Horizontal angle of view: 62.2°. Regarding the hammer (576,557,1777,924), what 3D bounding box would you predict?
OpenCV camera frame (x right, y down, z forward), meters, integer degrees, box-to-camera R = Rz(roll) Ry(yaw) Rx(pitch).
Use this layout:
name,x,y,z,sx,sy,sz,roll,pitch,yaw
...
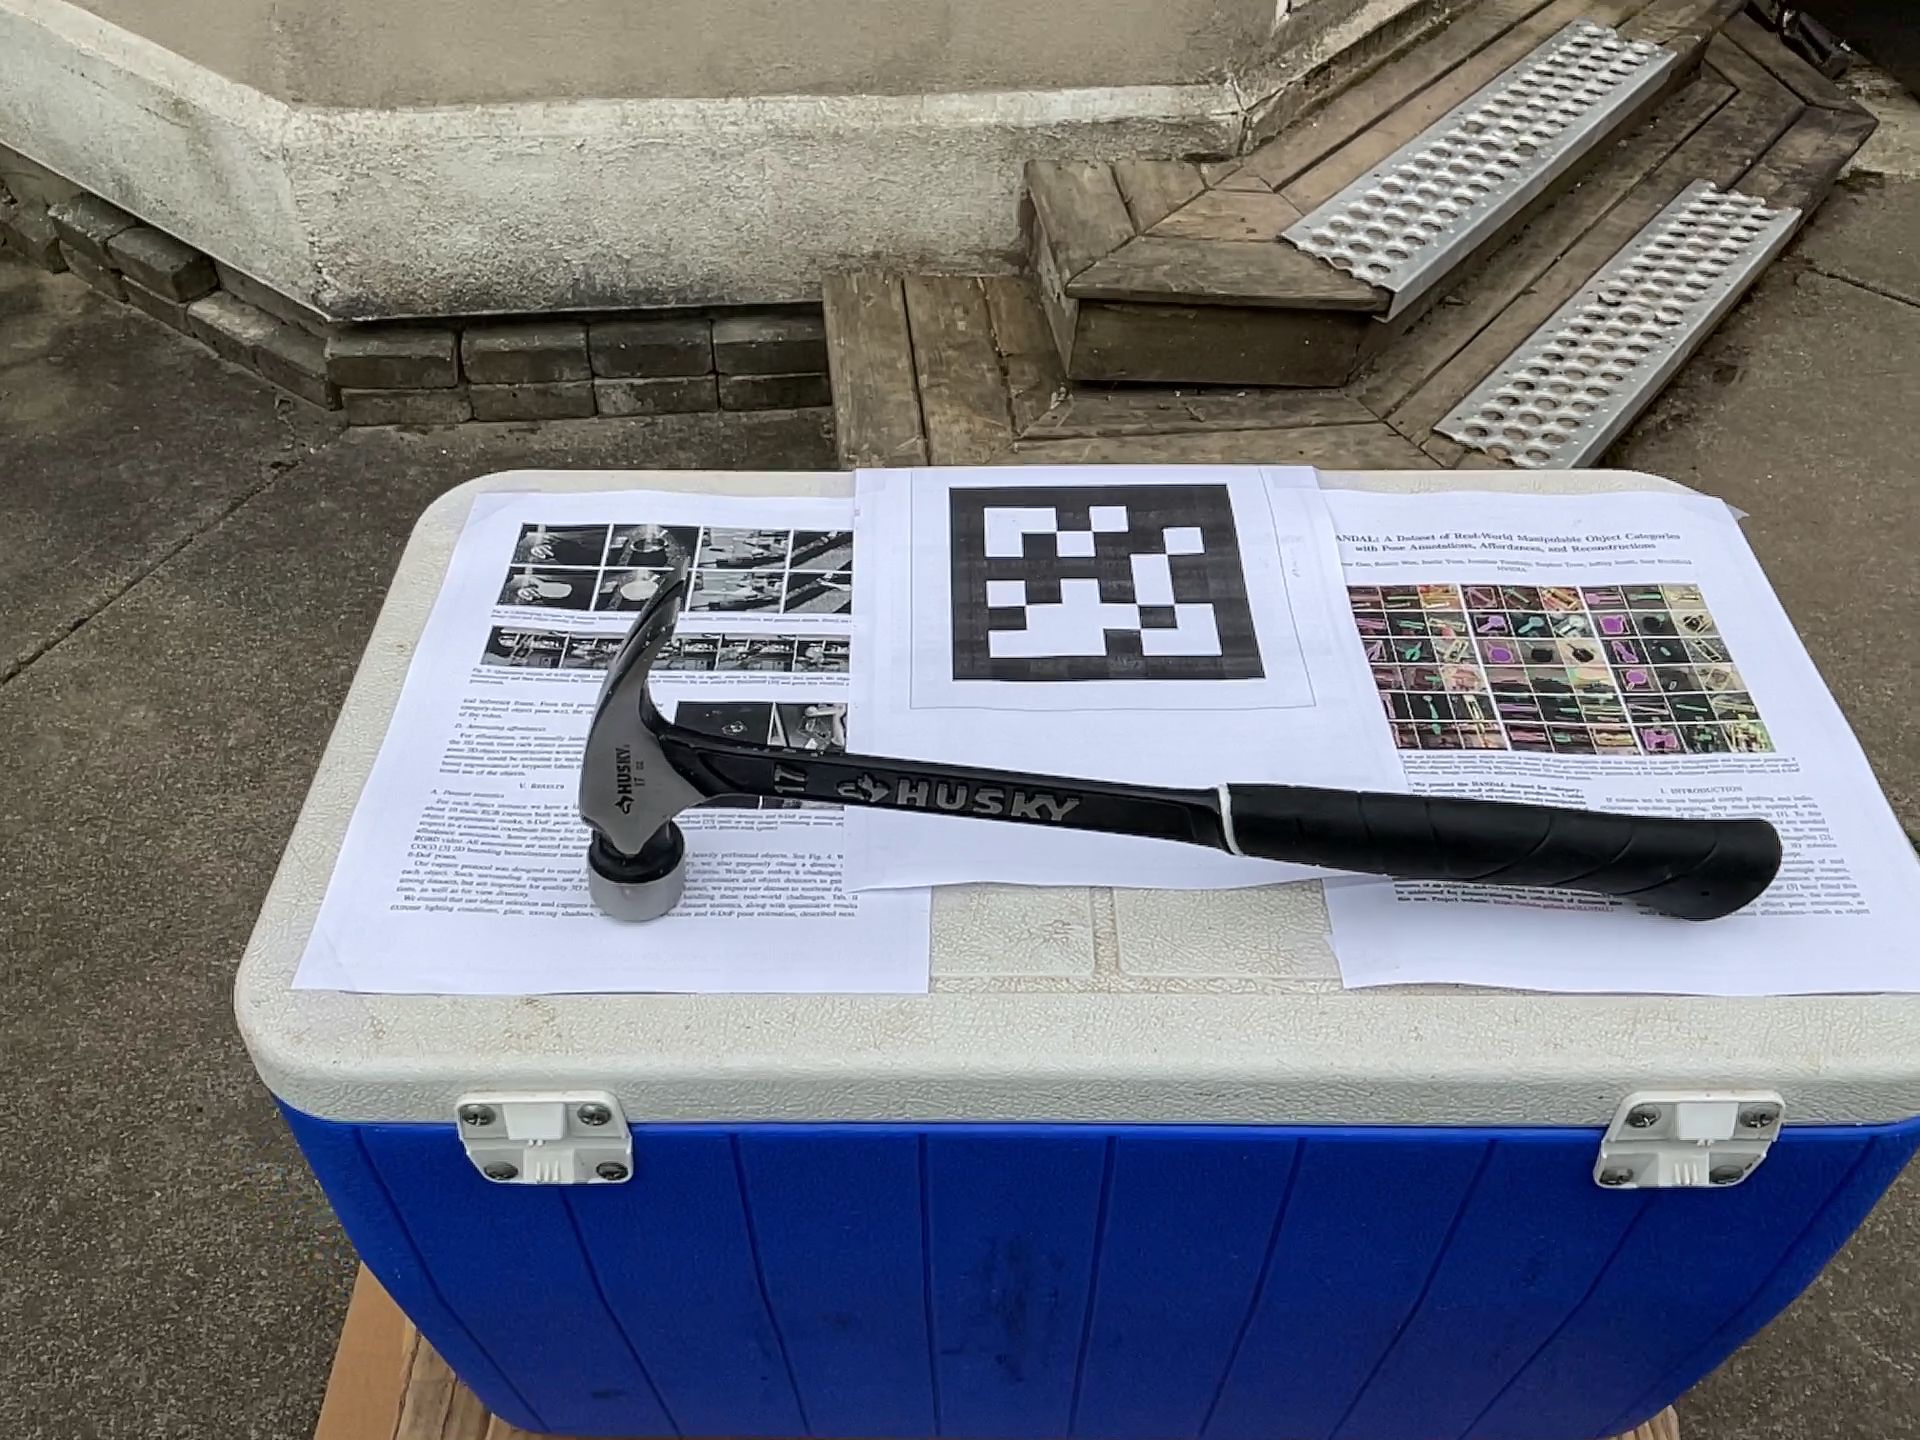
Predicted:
name,x,y,z,sx,sy,sz,roll,pitch,yaw
hammer,0.075,0.028,0.542,0.408,0.149,0.036,5,45,-4
